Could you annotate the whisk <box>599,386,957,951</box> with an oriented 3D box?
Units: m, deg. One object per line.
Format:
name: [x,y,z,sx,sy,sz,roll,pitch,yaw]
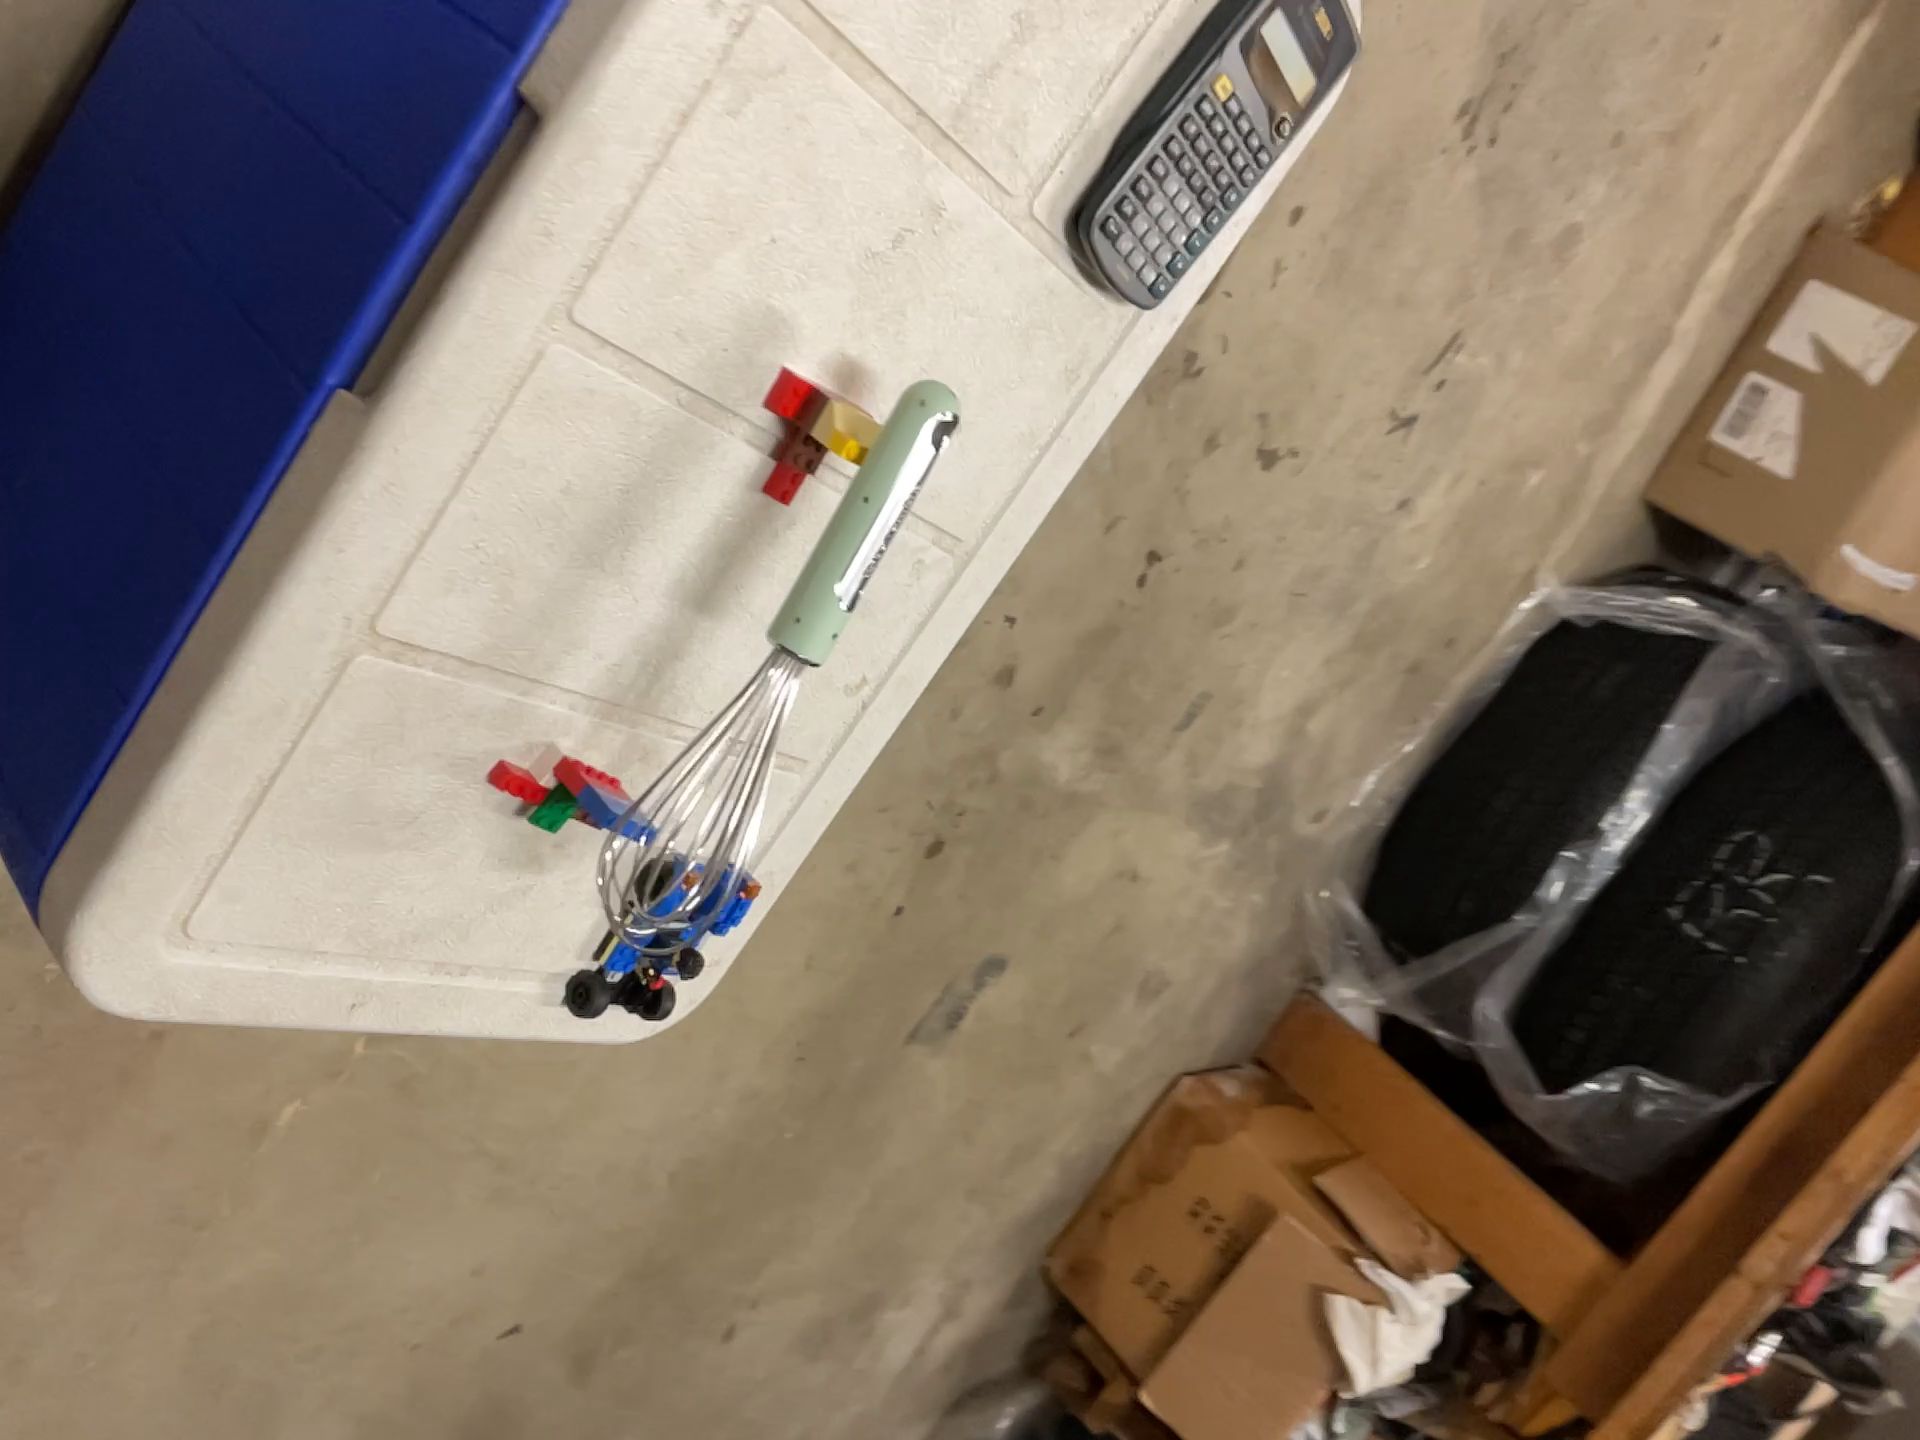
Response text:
whisk: [-0.069,-0.020,0.621,0.246,0.059,0.058,-60,153,5]
